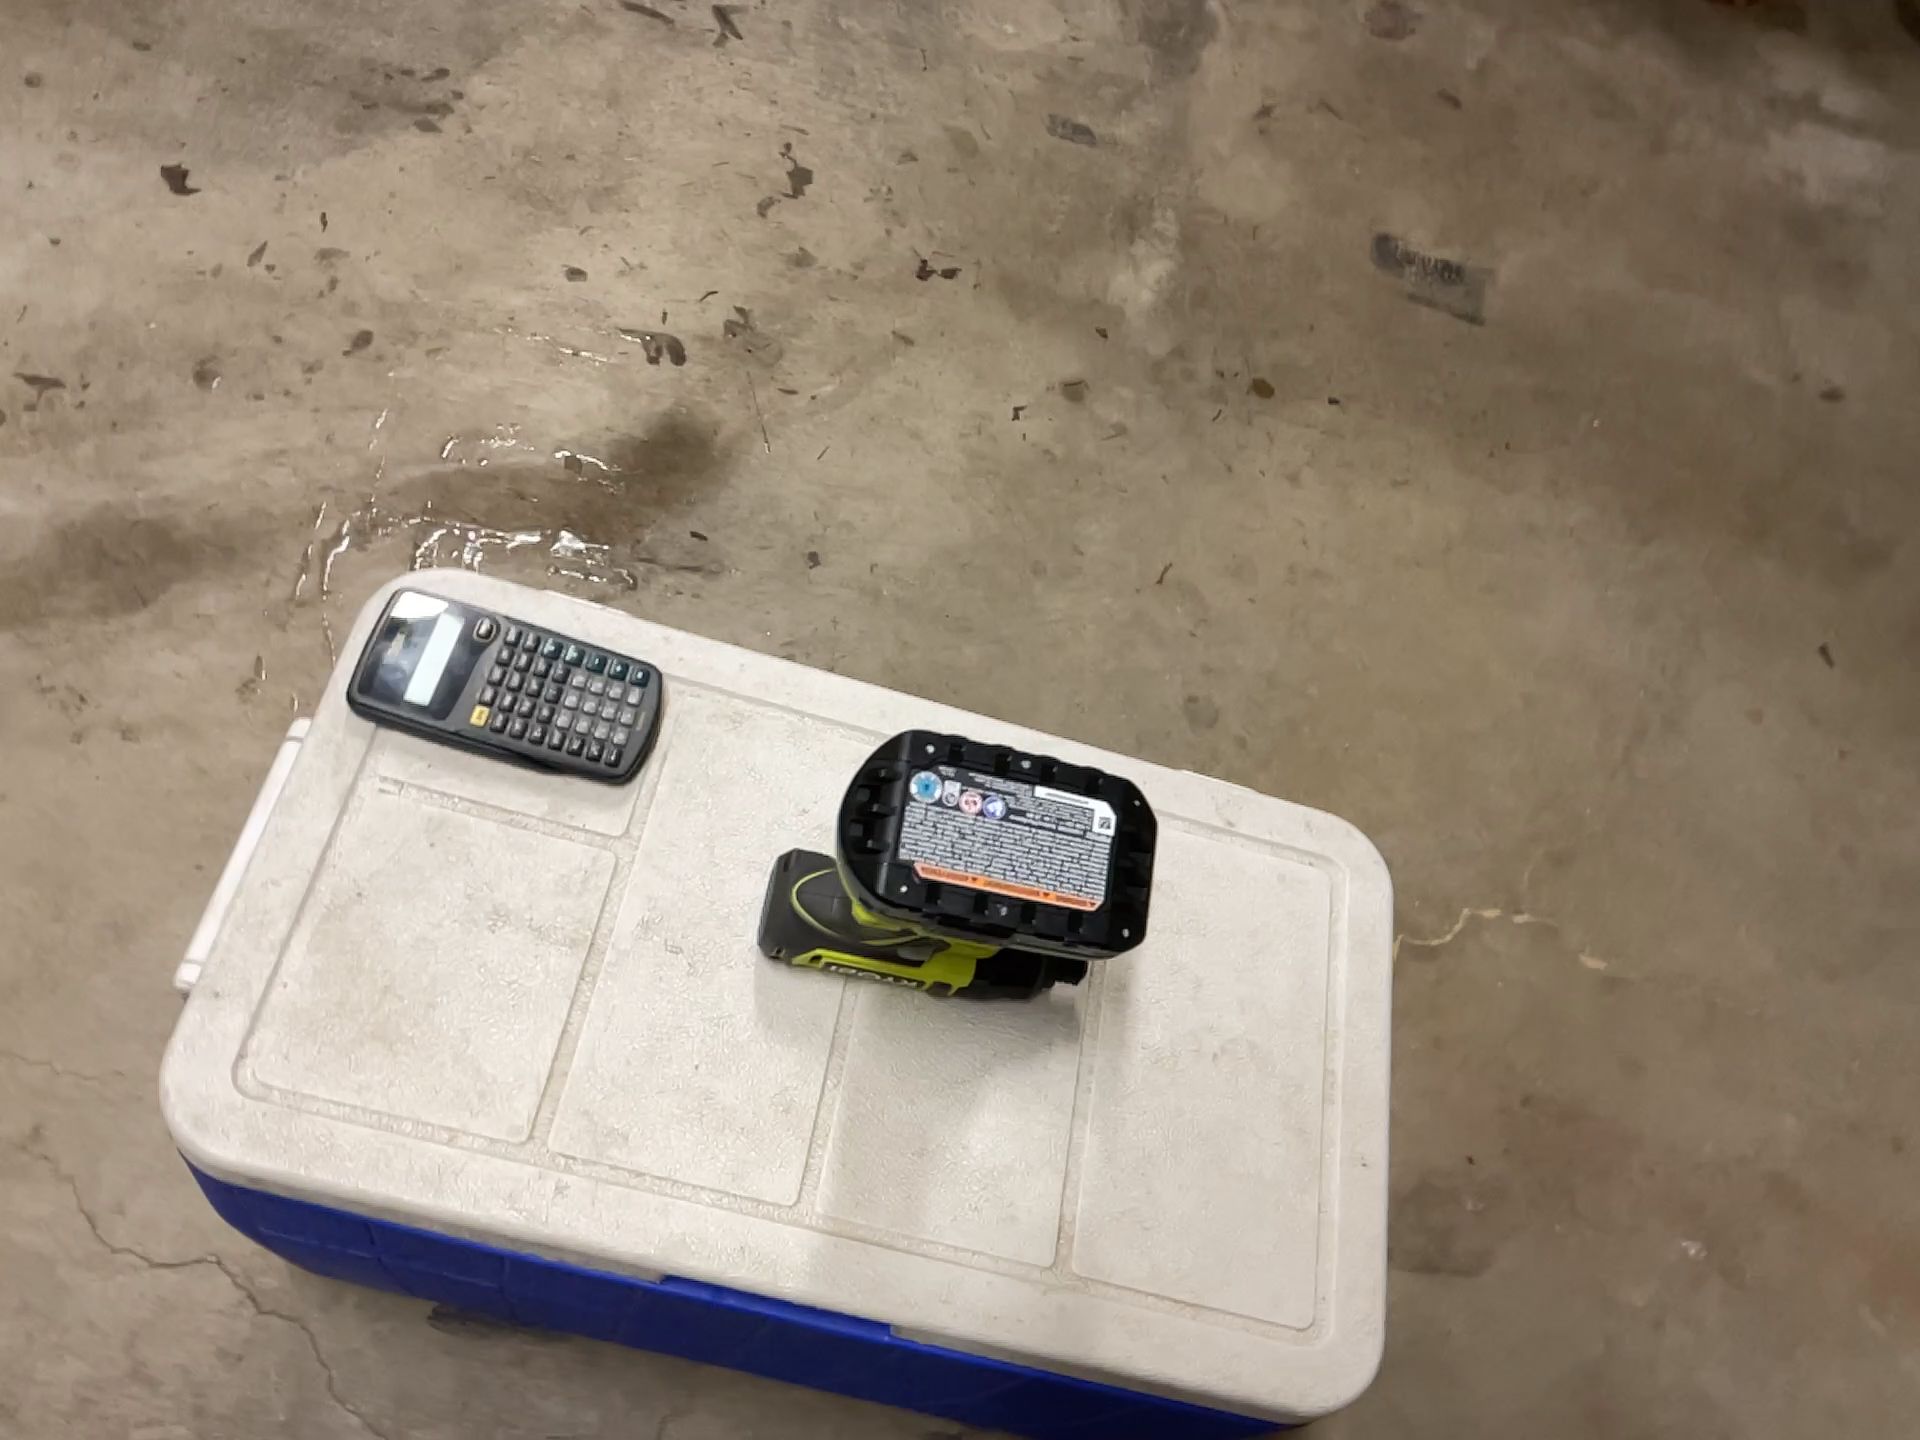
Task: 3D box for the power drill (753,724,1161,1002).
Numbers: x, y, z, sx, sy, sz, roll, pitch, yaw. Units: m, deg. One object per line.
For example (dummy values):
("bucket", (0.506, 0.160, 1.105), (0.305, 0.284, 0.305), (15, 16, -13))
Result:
("power drill", (0.002, 0.083, 0.742), (0.171, 0.223, 0.080), (14, 69, -9))
